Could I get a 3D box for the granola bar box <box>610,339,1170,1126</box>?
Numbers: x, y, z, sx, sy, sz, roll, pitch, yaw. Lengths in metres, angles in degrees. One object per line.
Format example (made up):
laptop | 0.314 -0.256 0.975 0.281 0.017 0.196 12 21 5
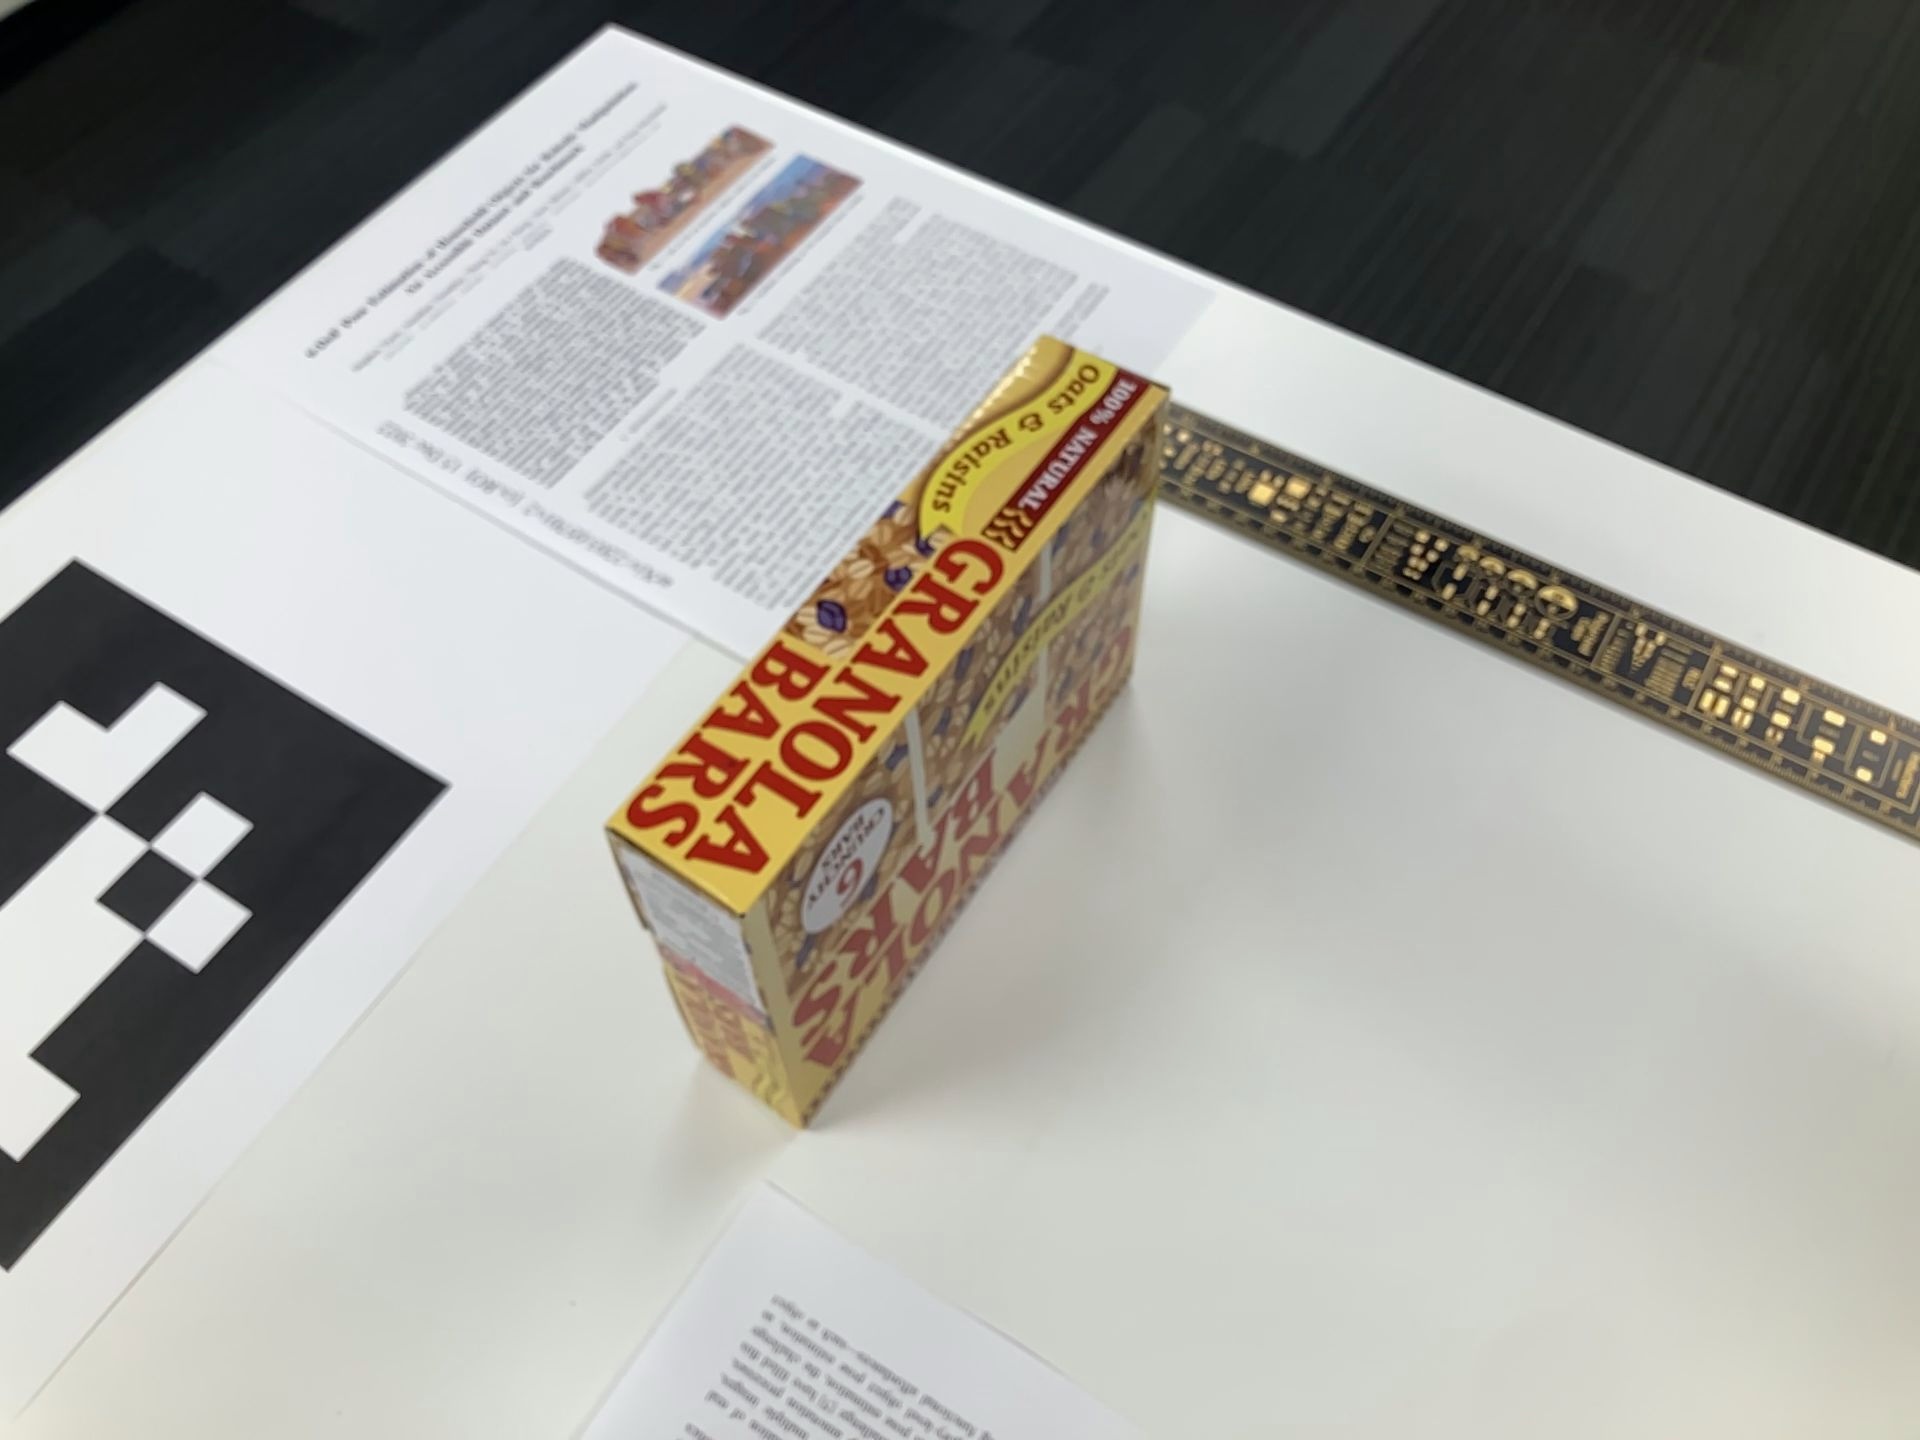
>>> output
granola bar box | -0.010 0.005 0.400 0.039 0.124 0.165 29 62 18
